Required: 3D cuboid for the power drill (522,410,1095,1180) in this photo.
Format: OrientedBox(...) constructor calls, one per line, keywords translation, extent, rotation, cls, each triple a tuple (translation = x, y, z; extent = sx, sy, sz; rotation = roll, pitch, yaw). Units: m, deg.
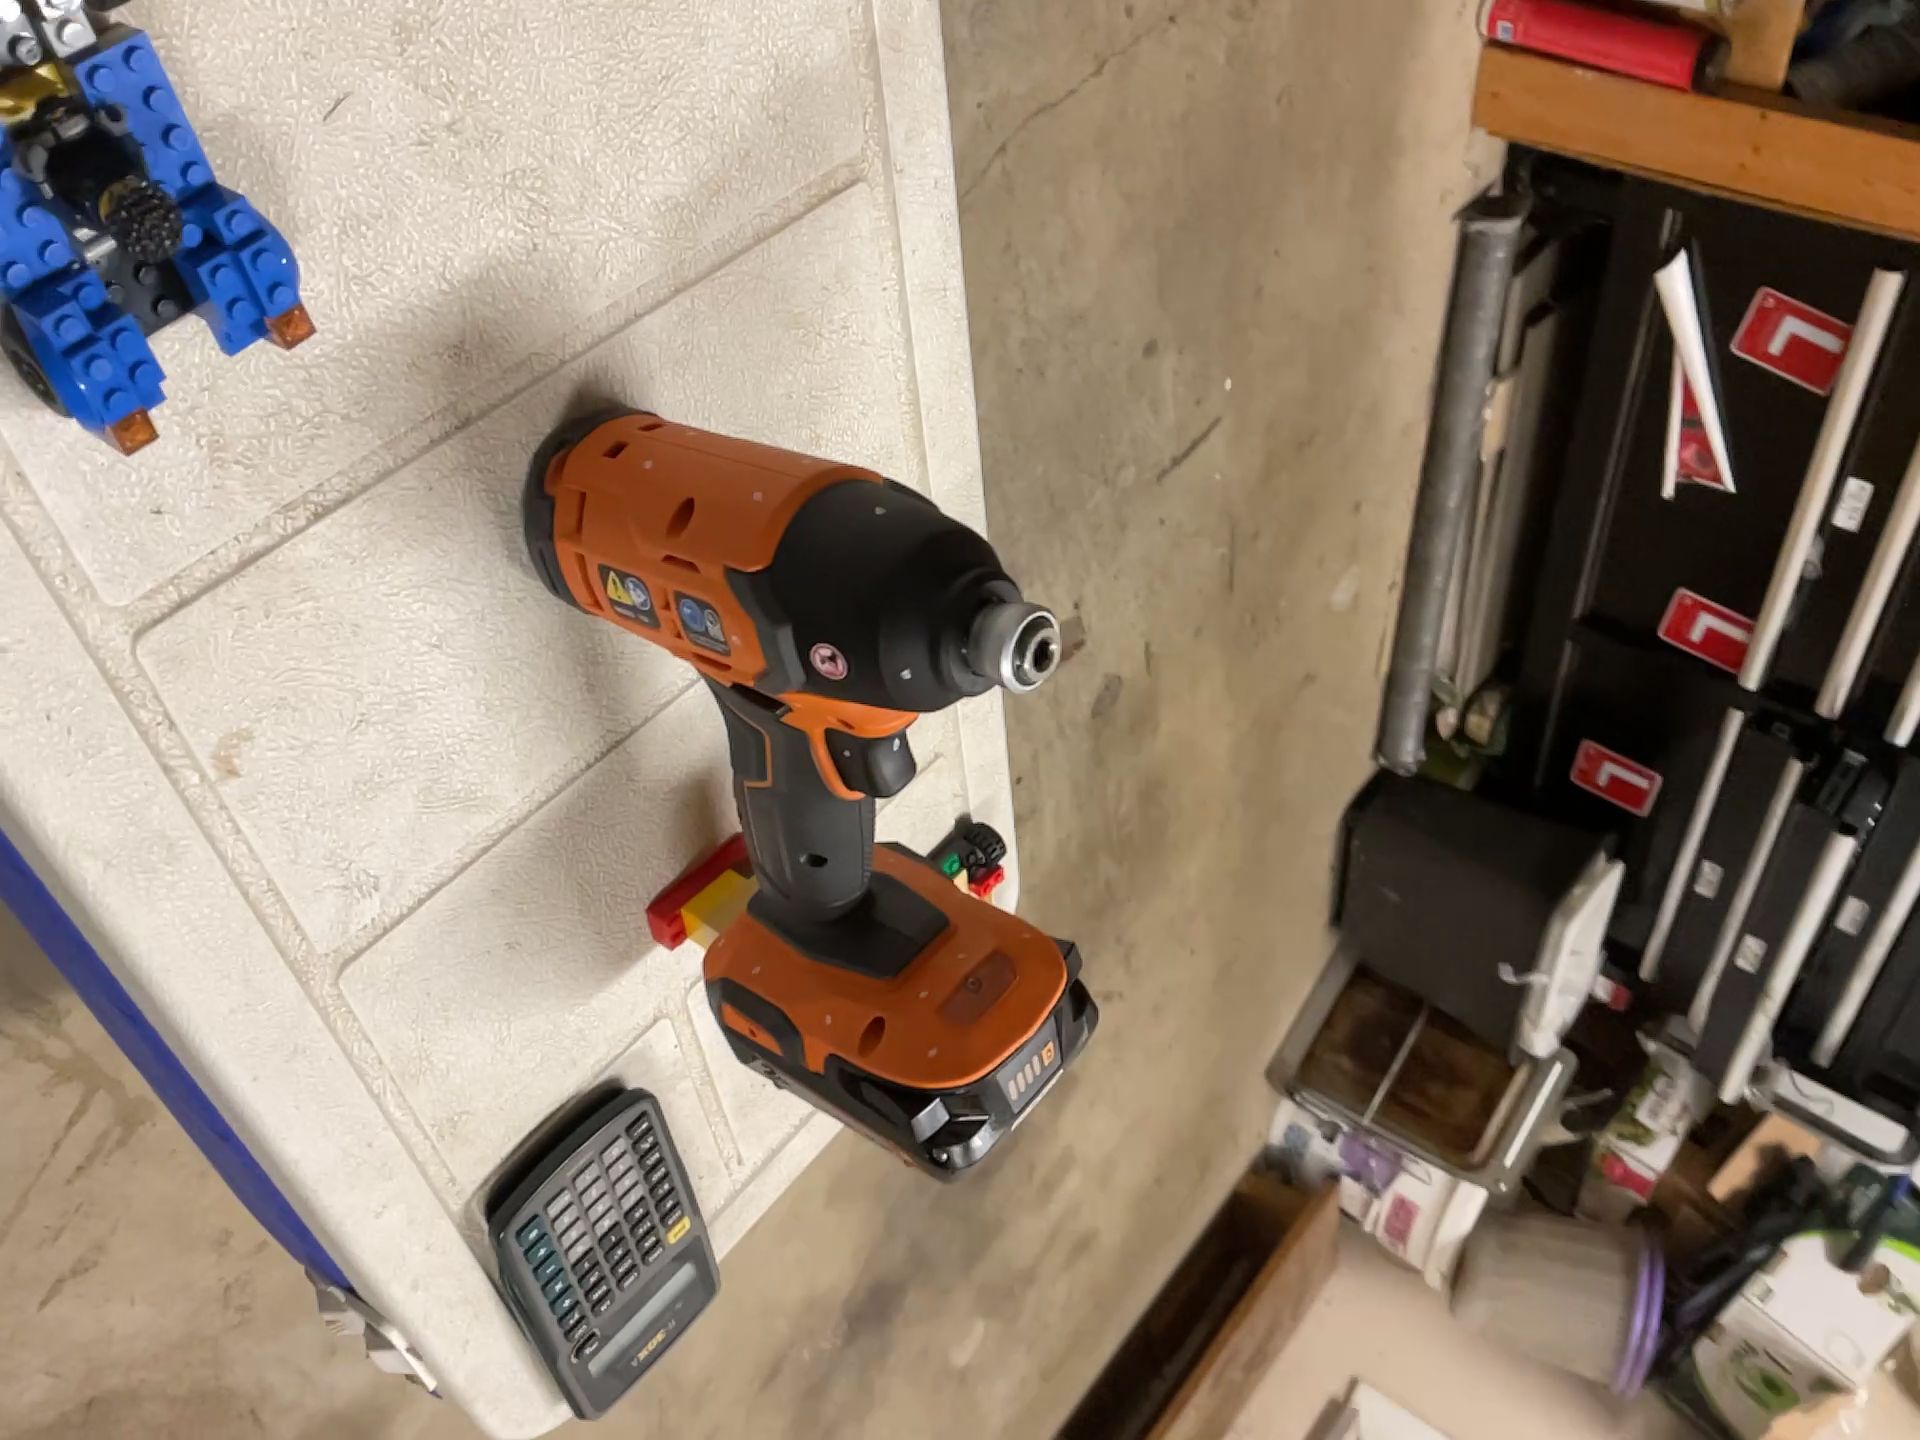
OrientedBox(translation=(-0.028, 0.027, 0.464), extent=(0.084, 0.164, 0.226), rotation=(-41, 133, -33), cls="power drill")
